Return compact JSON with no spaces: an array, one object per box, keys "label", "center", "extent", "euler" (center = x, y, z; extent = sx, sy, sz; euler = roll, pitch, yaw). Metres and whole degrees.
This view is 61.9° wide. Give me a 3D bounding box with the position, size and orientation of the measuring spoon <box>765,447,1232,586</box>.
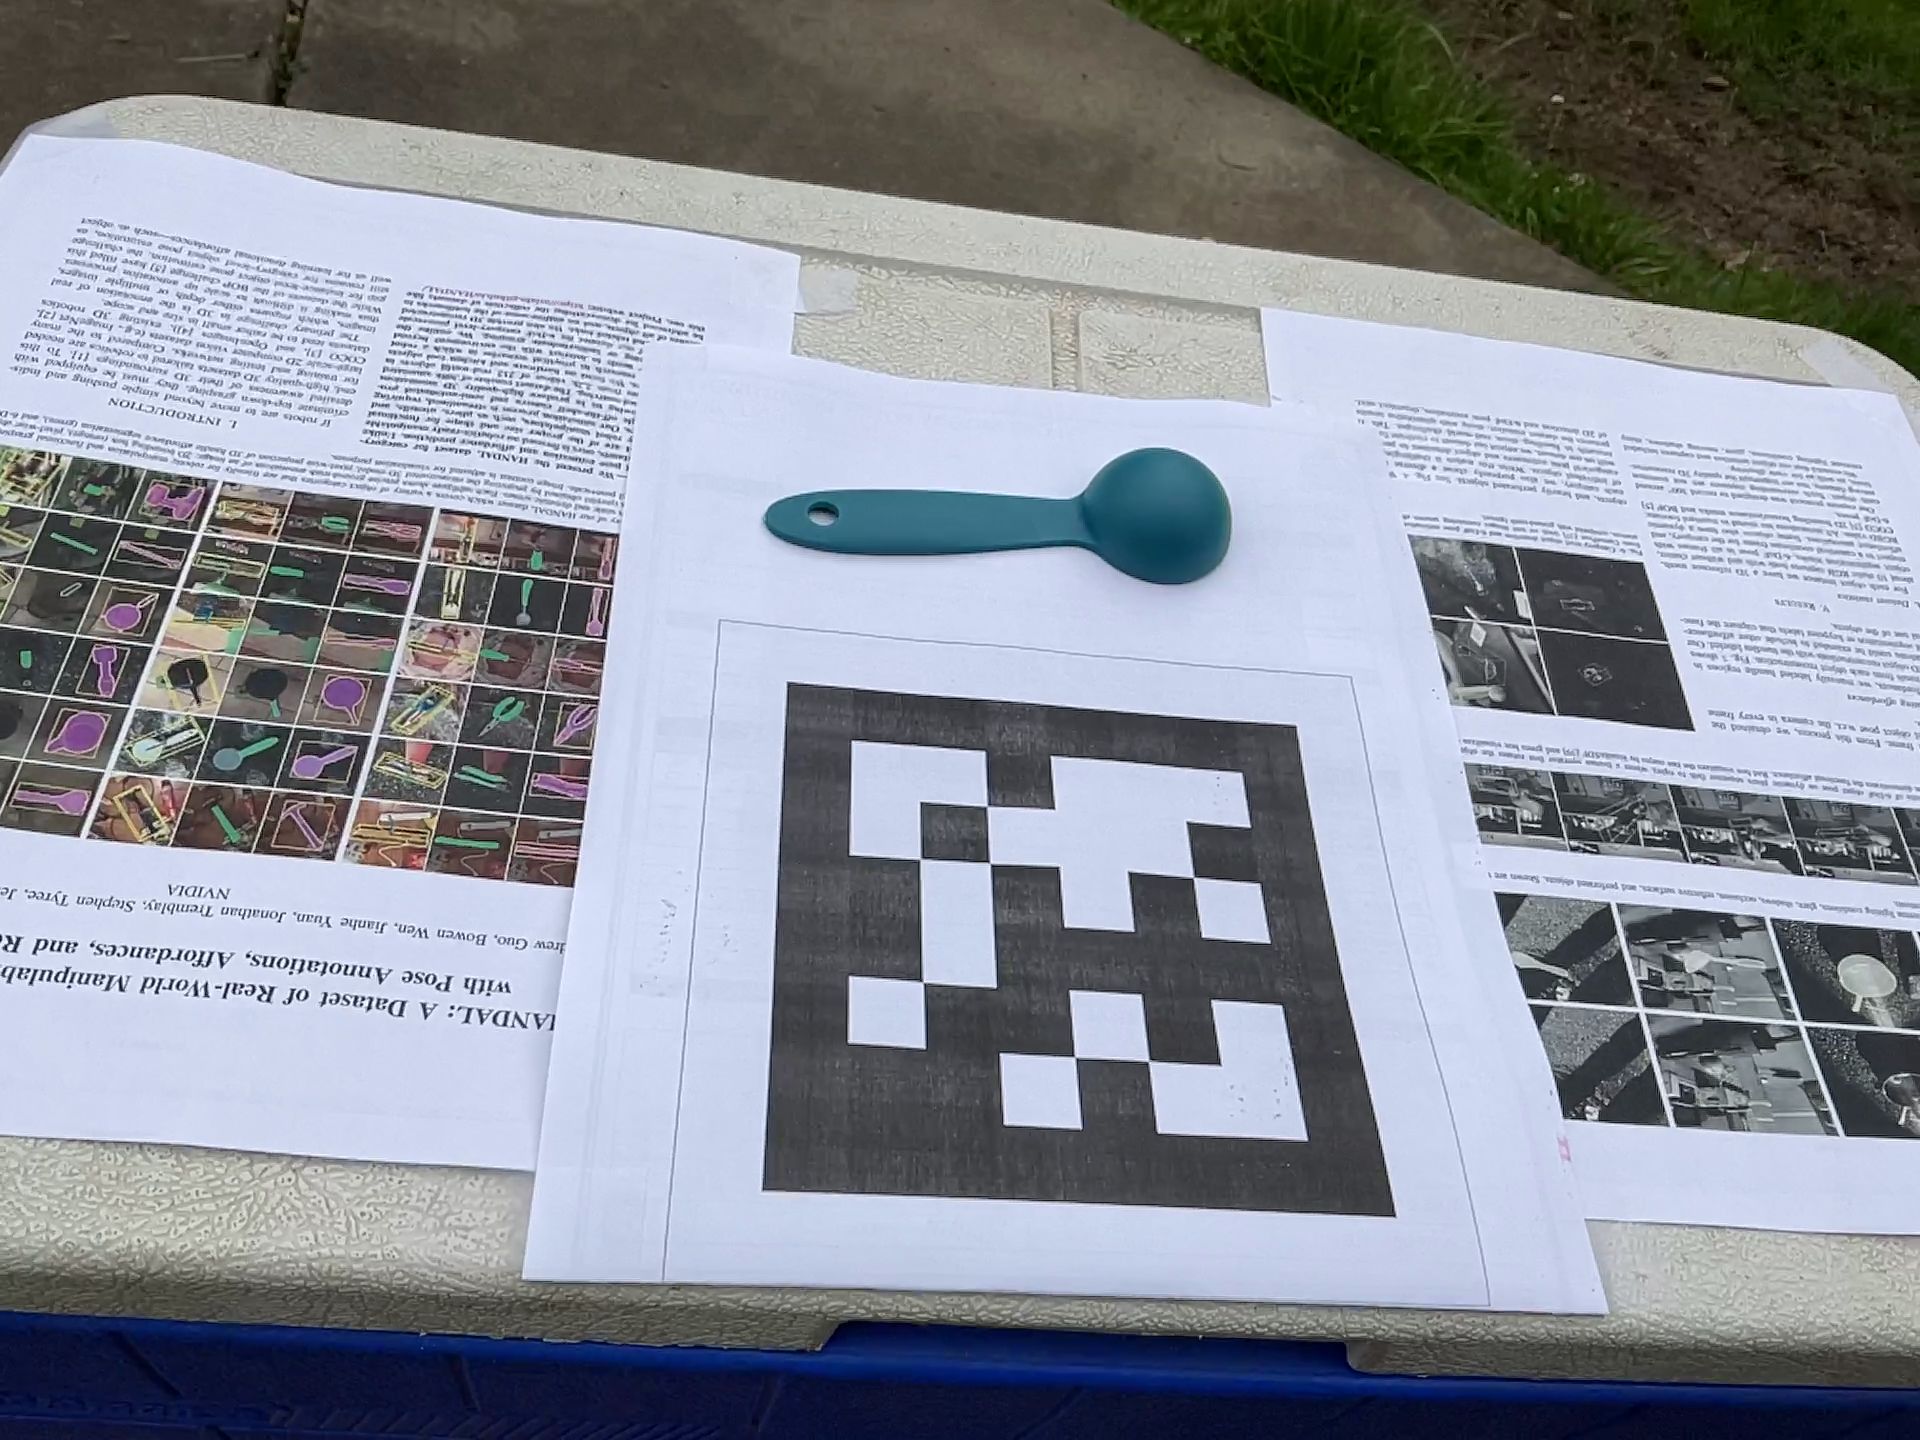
[{"label":"measuring spoon","center":[0.013,-0.058,0.425],"extent":[0.128,0.021,0.042],"euler":[-2,61,-13]}]
